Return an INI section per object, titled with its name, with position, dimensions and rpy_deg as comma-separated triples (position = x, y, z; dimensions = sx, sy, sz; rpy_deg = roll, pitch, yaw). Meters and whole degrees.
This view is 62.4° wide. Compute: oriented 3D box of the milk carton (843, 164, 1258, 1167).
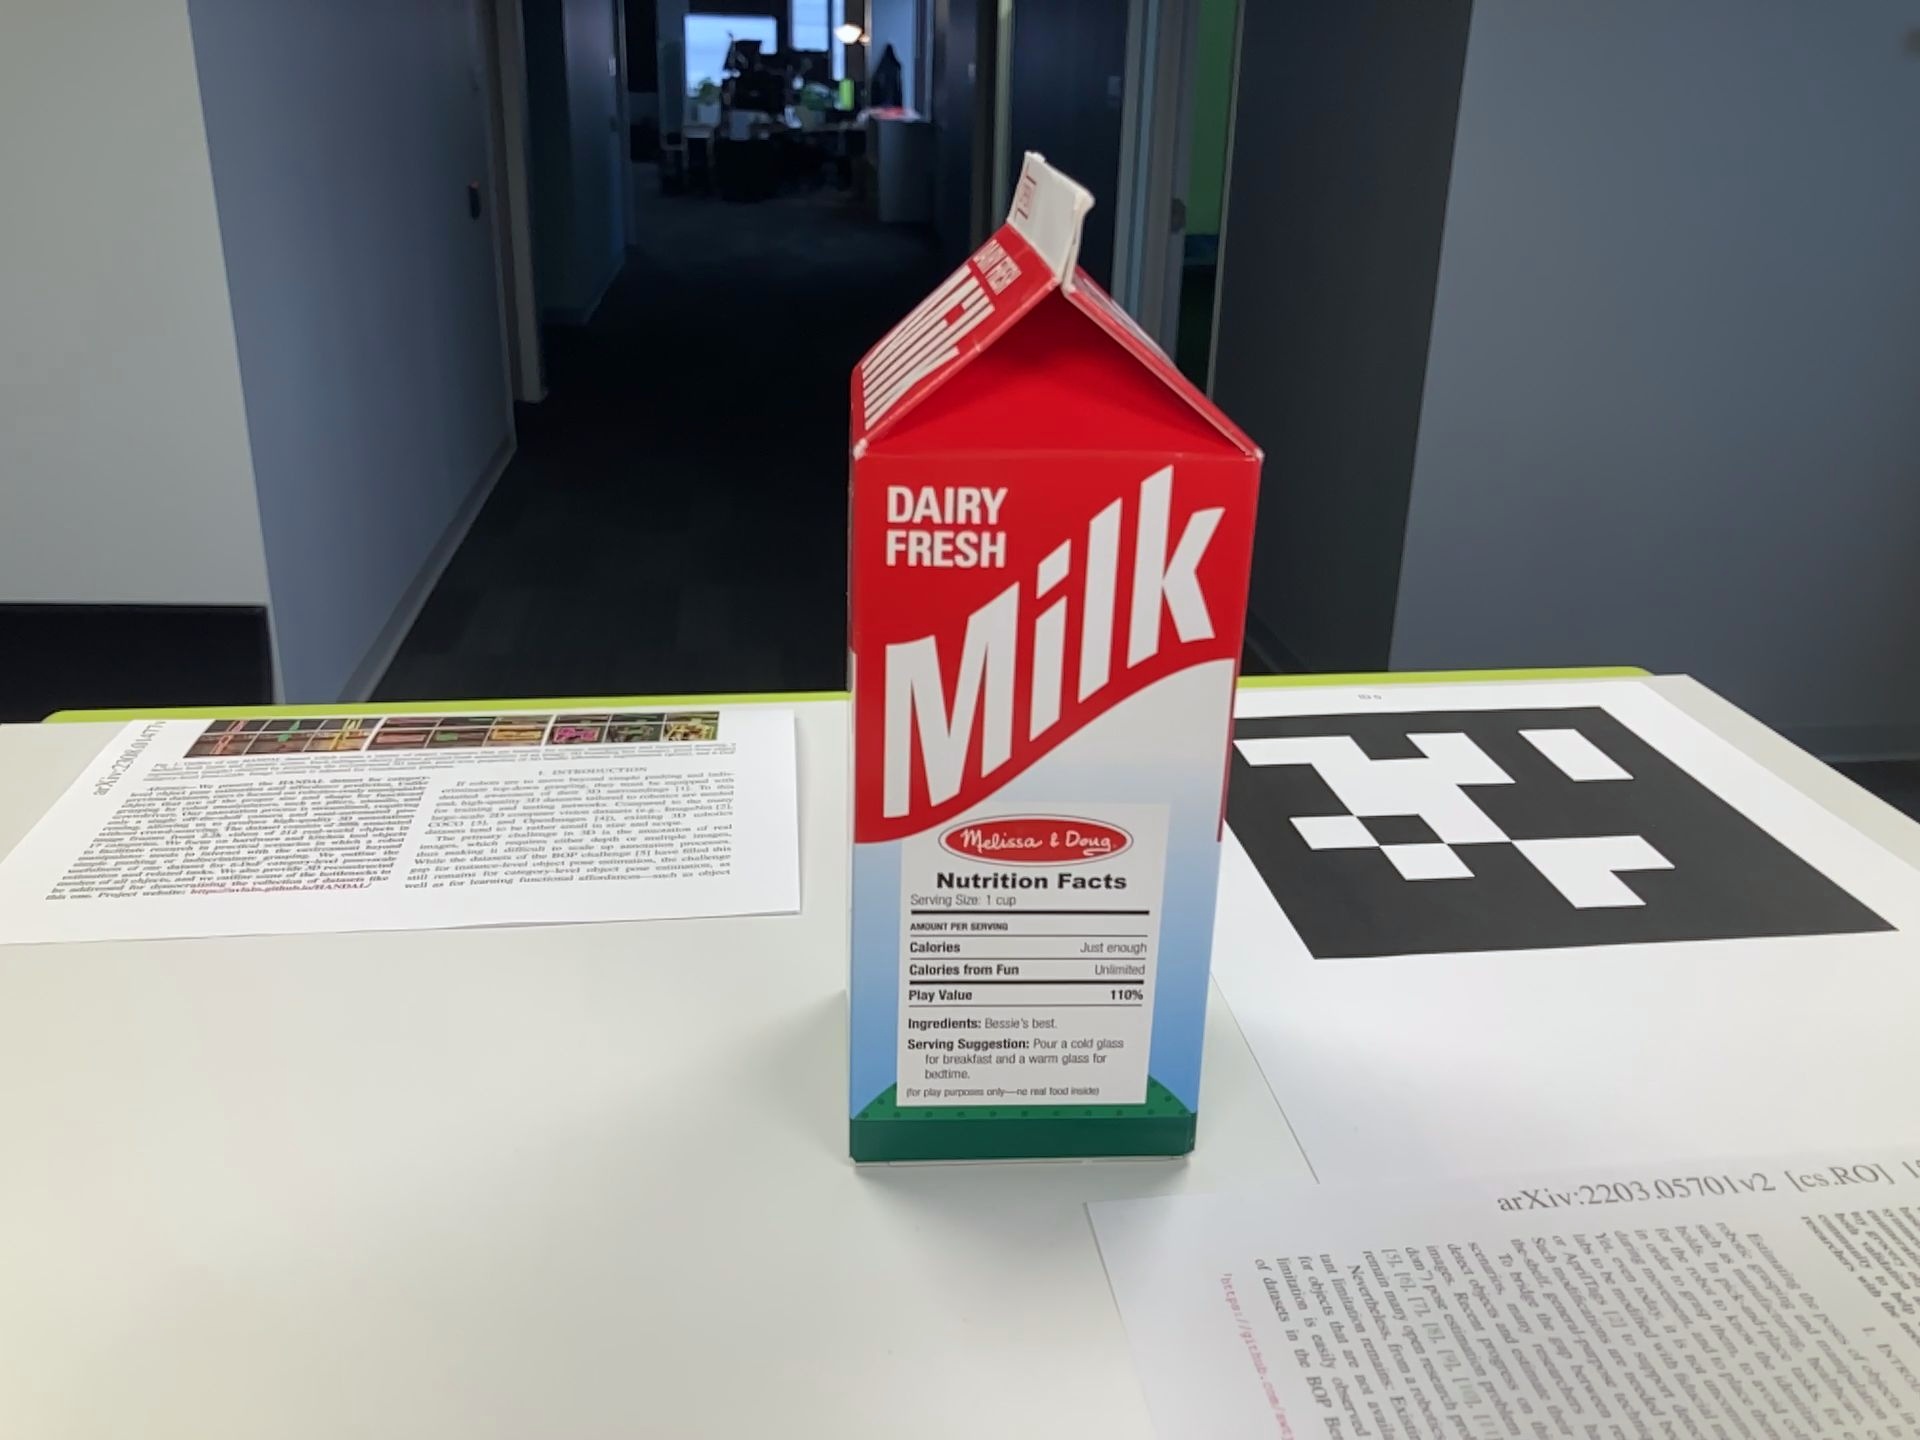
[milk carton]
position = 0.013, -0.010, 0.321
dimensions = 0.073, 0.190, 0.072
rpy_deg = 0, 23, -4
